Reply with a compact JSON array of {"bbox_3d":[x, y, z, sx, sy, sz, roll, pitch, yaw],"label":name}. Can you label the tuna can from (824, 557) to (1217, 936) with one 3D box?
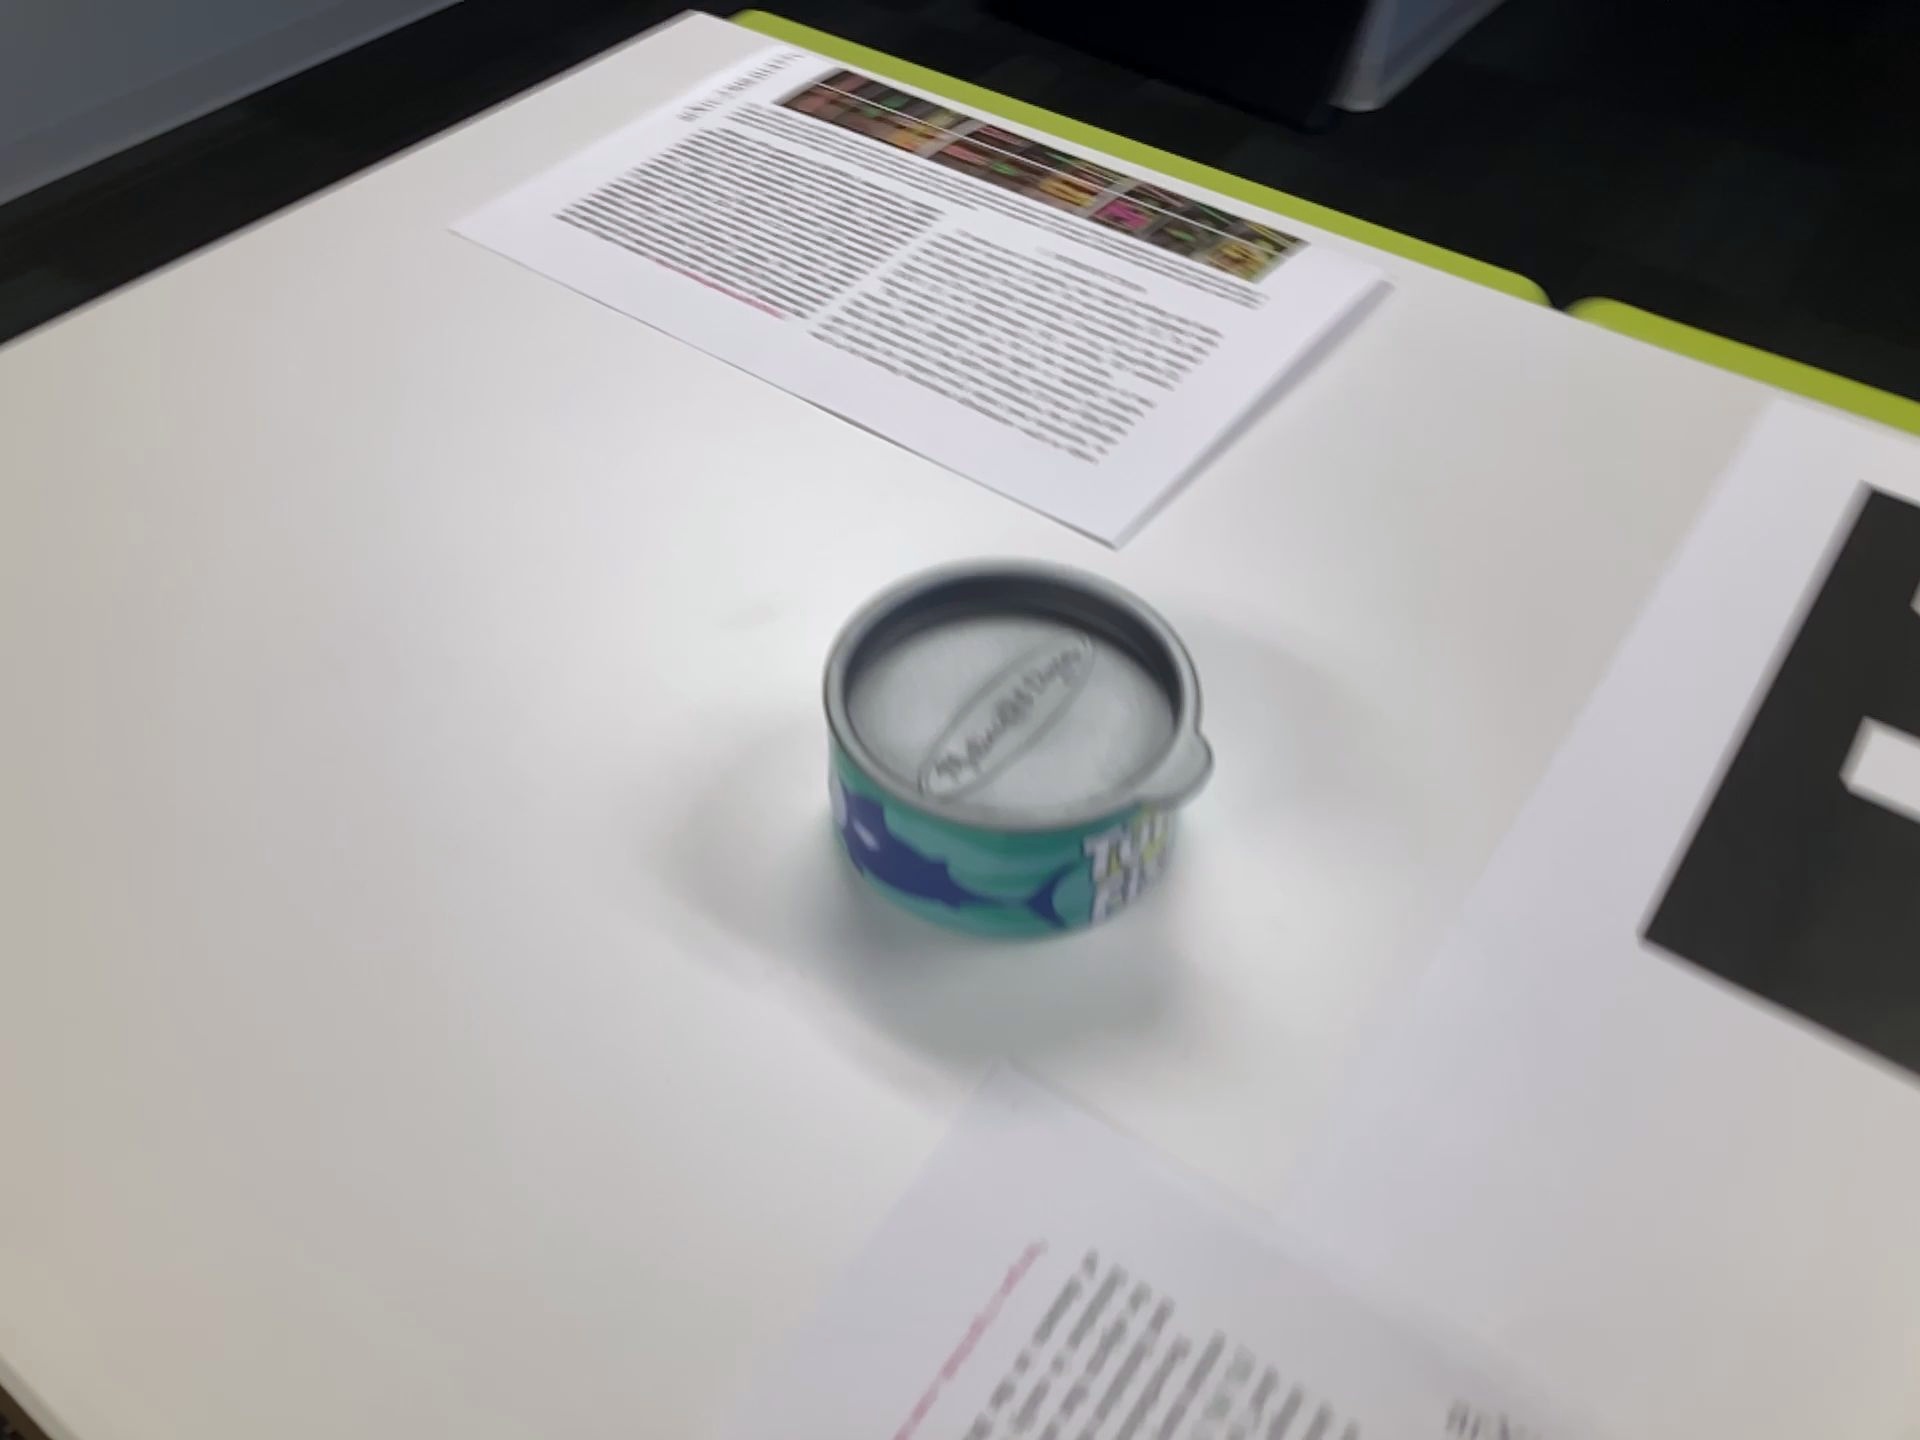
[{"bbox_3d":[0.011,0.005,0.285,0.071,0.033,0.071,1,46,-2],"label":"tuna can"}]
